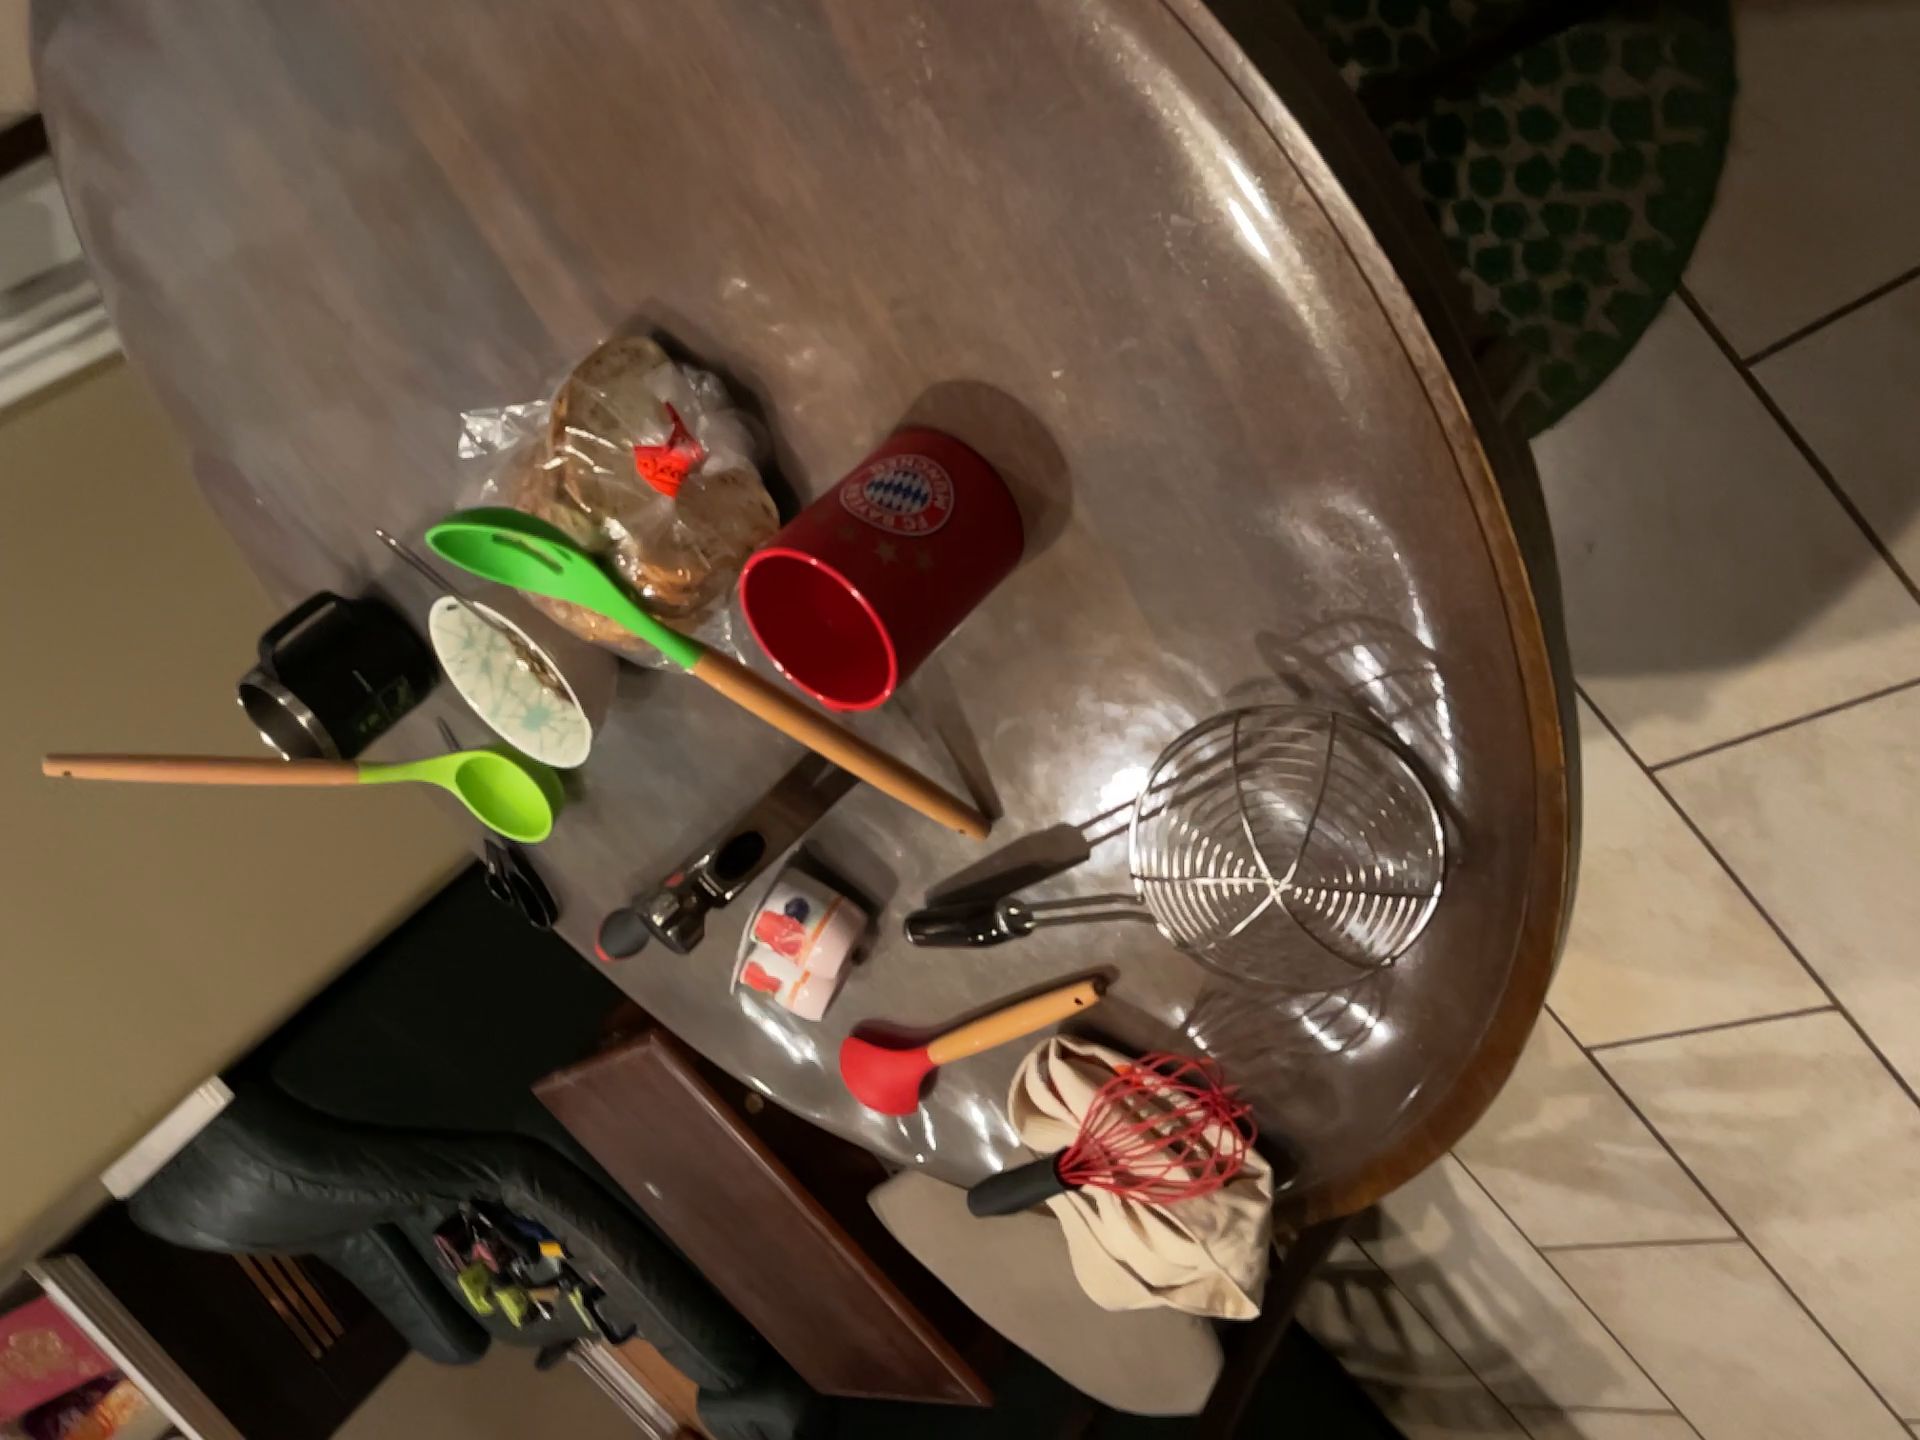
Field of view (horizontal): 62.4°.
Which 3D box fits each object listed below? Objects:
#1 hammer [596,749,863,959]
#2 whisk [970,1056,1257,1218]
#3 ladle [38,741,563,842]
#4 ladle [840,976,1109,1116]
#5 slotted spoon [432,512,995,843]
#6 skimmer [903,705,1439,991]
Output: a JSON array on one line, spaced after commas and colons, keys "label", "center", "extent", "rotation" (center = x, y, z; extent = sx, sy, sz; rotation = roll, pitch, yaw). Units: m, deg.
[{"label": "hammer", "center": [-0.168, 0.102, 1.002], "extent": [0.038, 0.143, 0.386], "rotation": [48, 156, -5]}, {"label": "whisk", "center": [0.071, 0.241, 0.866], "extent": [0.073, 0.073, 0.296], "rotation": [42, 146, -1]}, {"label": "ladle", "center": [-0.426, 0.043, 1.044], "extent": [0.078, 0.320, 0.062], "rotation": [115, 148, -43]}, {"label": "ladle", "center": [0.001, 0.201, 0.981], "extent": [0.069, 0.031, 0.315], "rotation": [46, 143, -5]}, {"label": "slotted spoon", "center": [-0.106, -0.016, 0.768], "extent": [0.313, 0.031, 0.070], "rotation": [32, 155, -24]}, {"label": "skimmer", "center": [0.075, 0.076, 0.774], "extent": [0.127, 0.090, 0.363], "rotation": [57, 154, -6]}]
